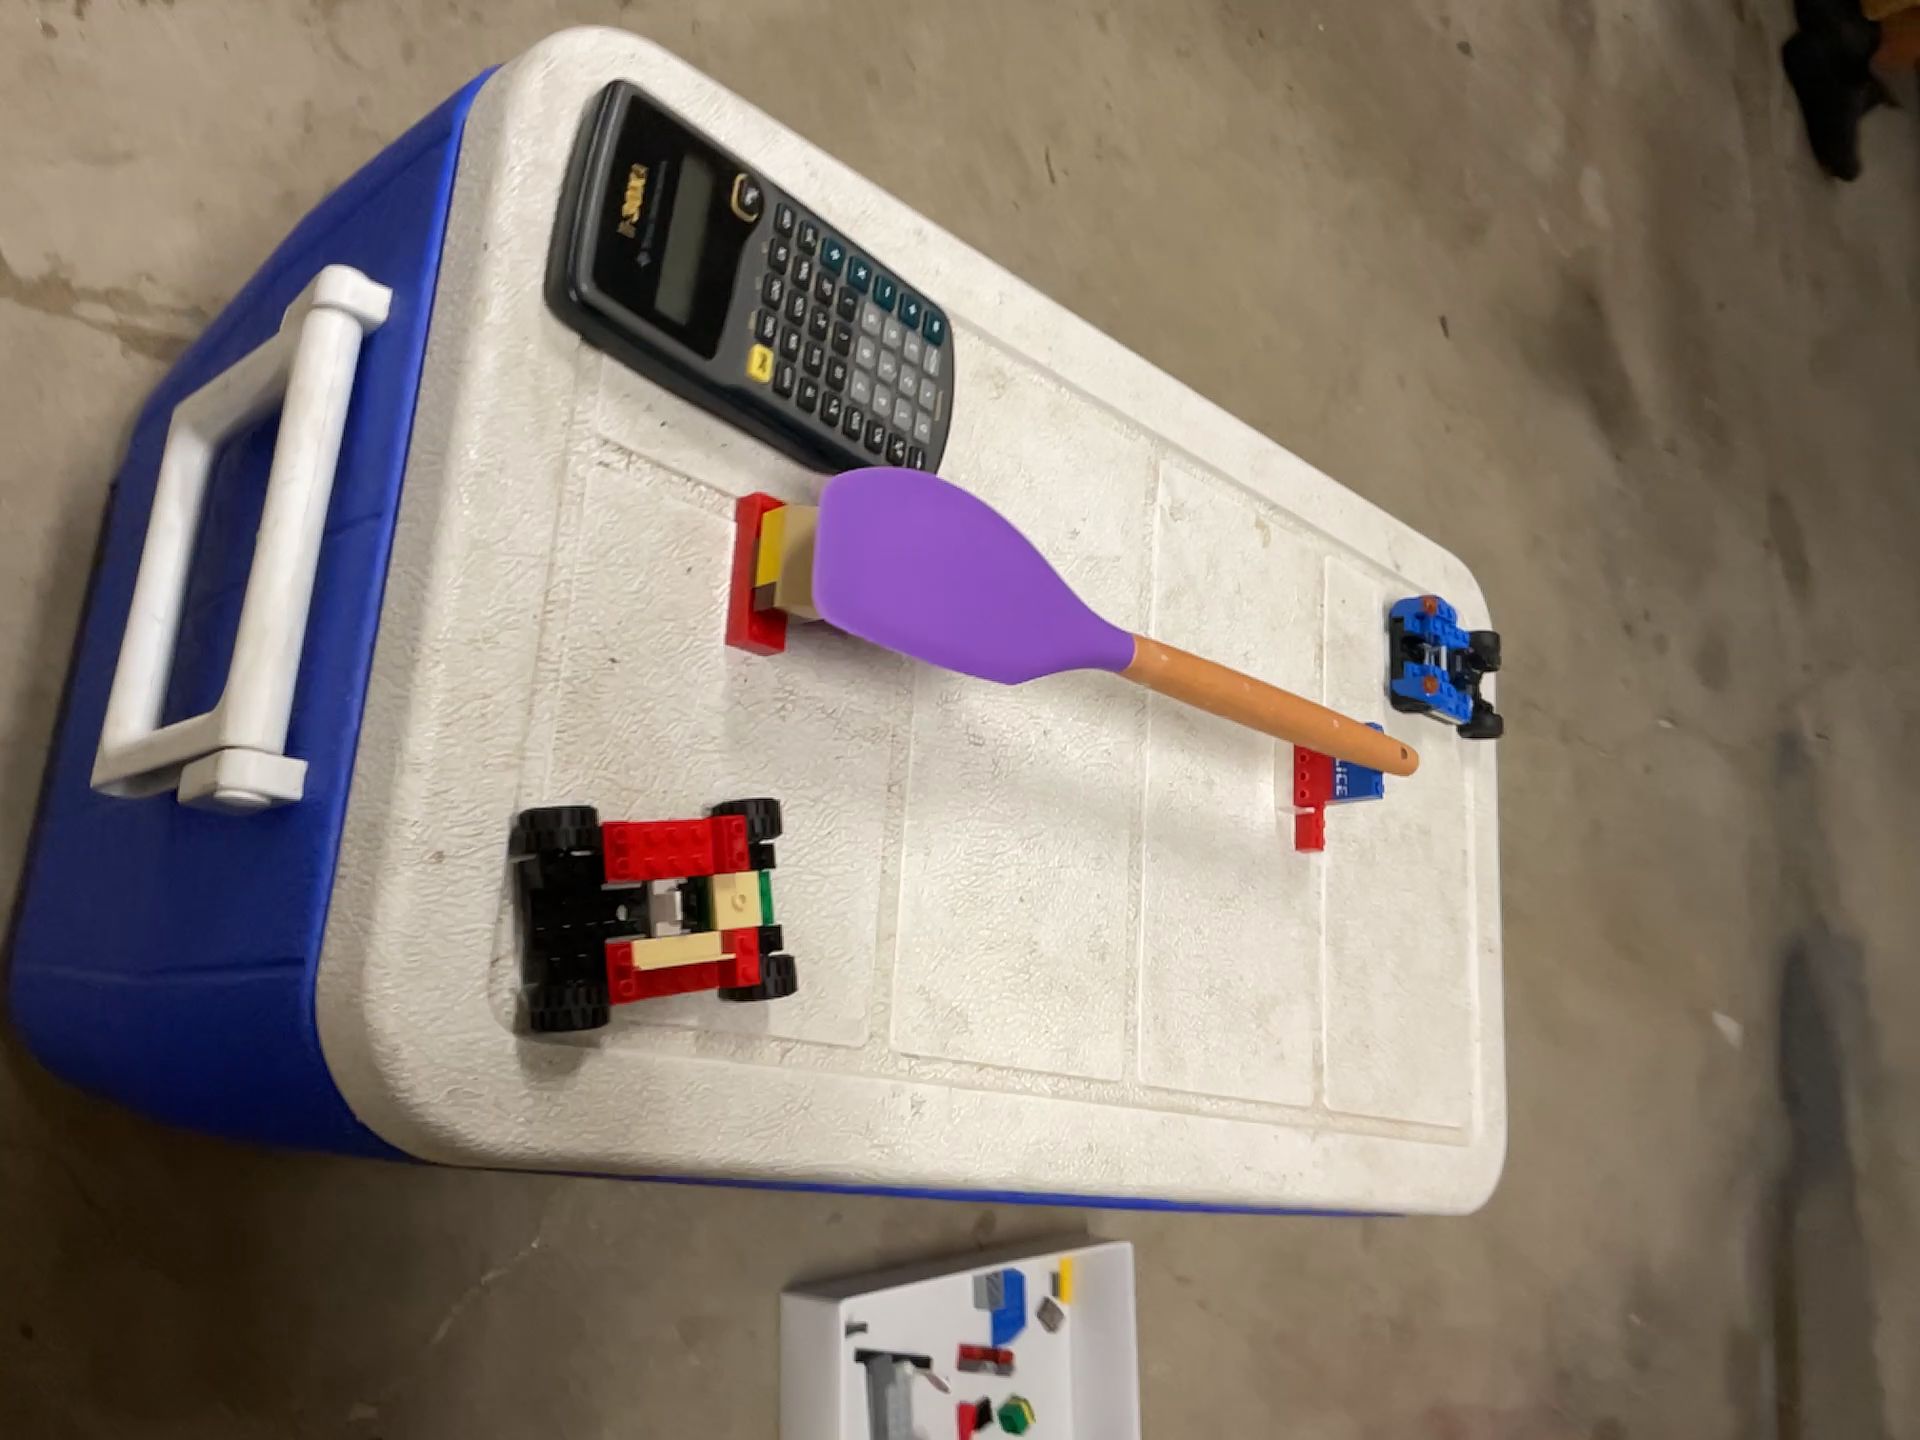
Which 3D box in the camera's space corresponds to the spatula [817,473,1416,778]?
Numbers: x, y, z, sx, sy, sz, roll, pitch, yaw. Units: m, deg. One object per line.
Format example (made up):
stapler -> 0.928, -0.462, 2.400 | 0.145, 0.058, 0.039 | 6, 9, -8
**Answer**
spatula -> 0.073, -0.019, 0.560 | 0.316, 0.018, 0.060 | 18, 70, -42
